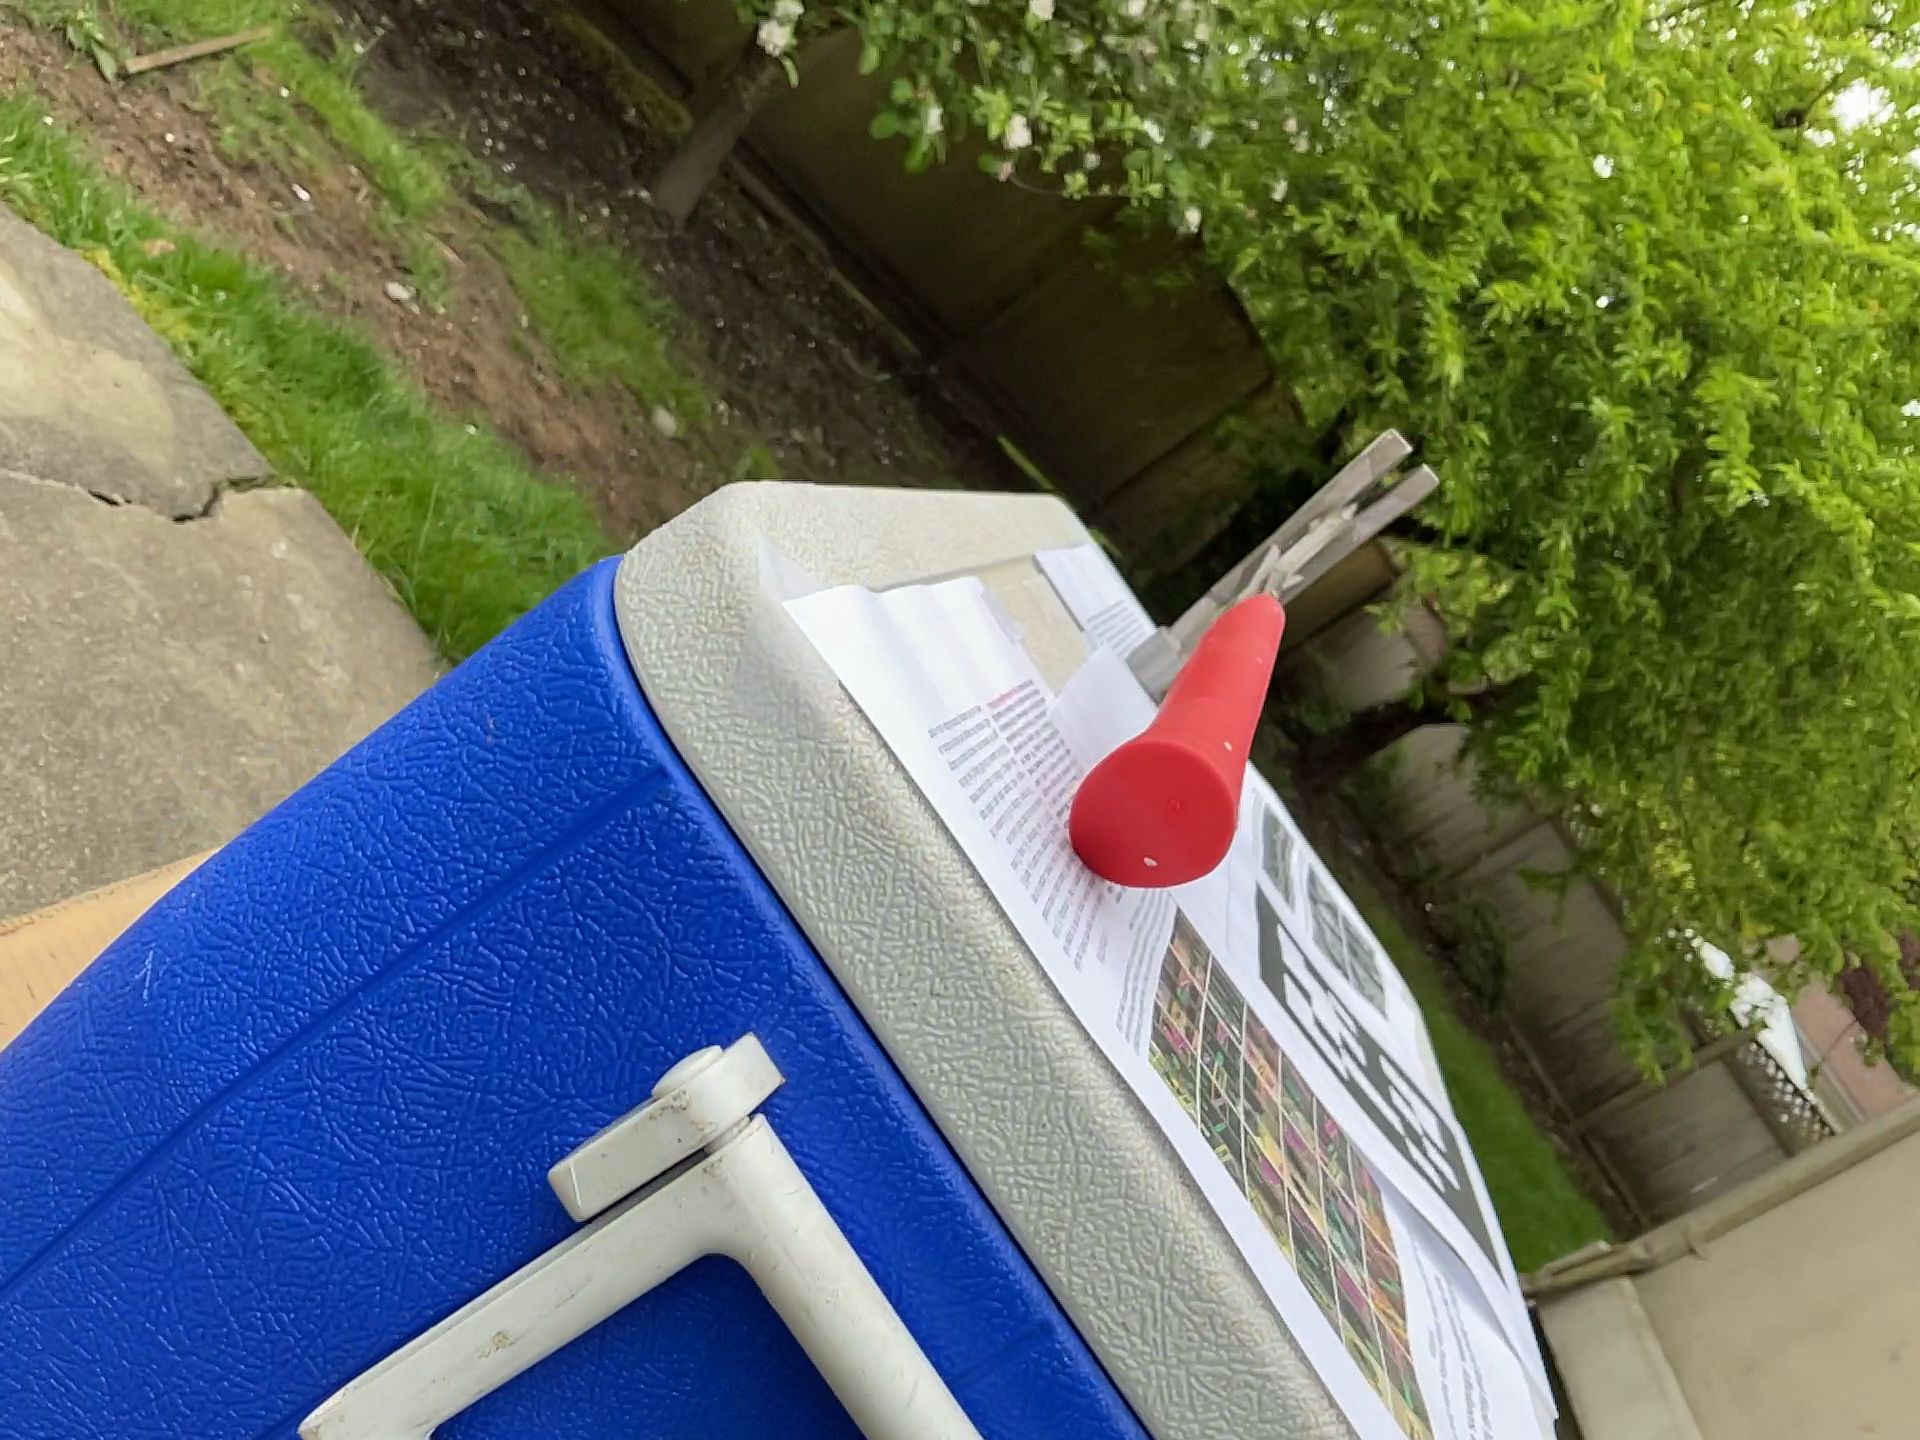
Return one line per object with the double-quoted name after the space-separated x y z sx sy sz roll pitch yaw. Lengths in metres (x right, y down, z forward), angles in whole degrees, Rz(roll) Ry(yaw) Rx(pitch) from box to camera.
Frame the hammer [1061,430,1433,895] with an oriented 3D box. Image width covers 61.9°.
0.095 -0.025 0.531 0.037 0.149 0.359 49 19 -1 "hammer"
